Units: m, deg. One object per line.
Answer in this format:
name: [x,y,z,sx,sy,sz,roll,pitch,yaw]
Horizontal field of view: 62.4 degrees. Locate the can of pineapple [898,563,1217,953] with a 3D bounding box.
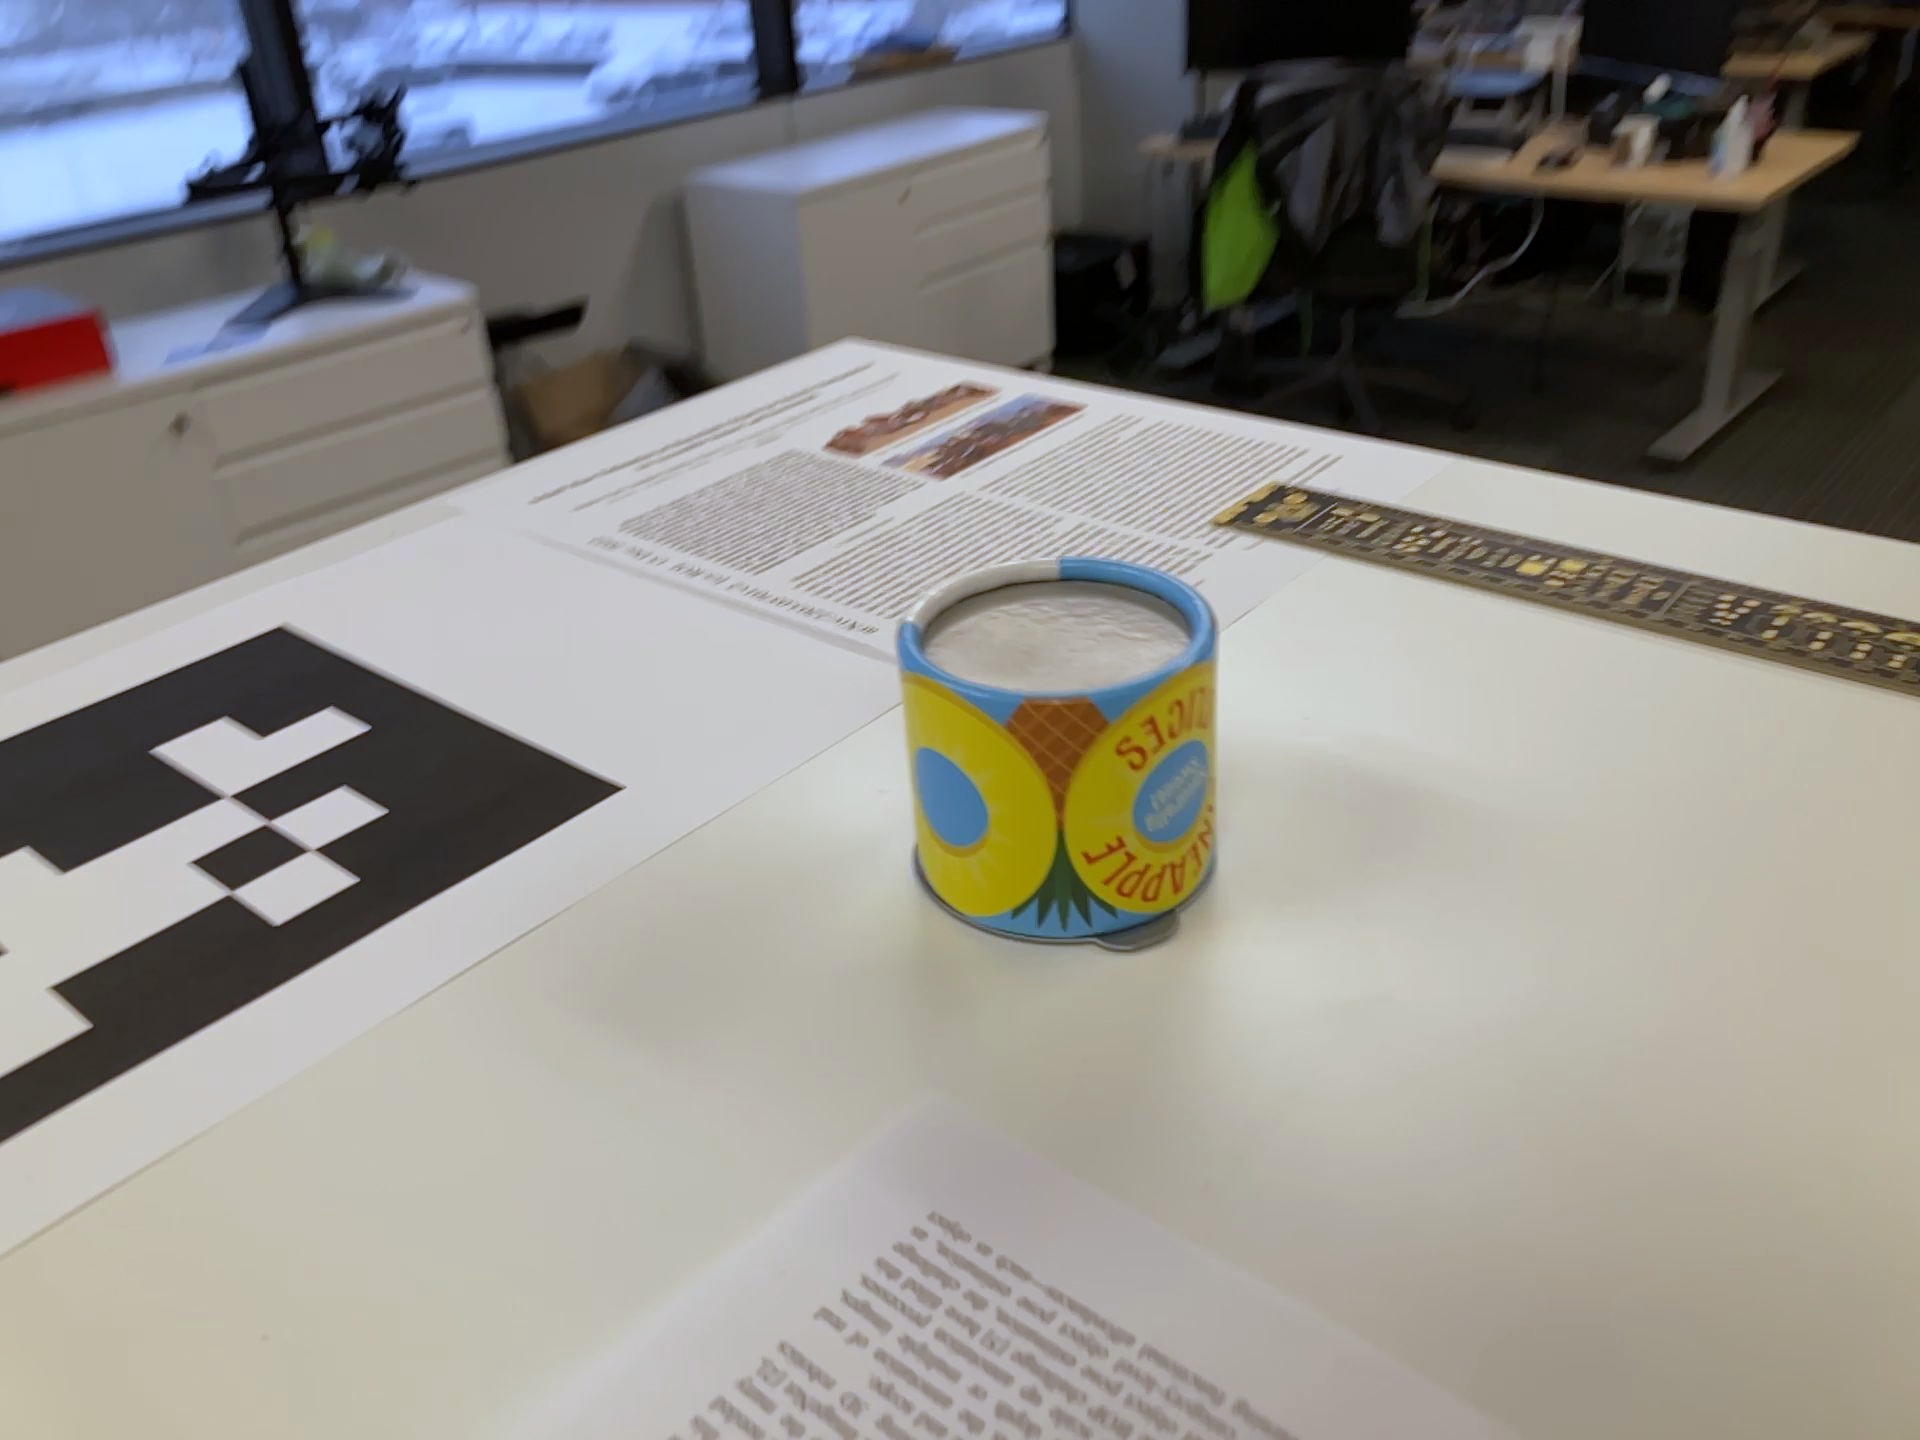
can of pineapple: [0.023,0.006,0.338,0.071,0.058,0.071,-3,30,2]
